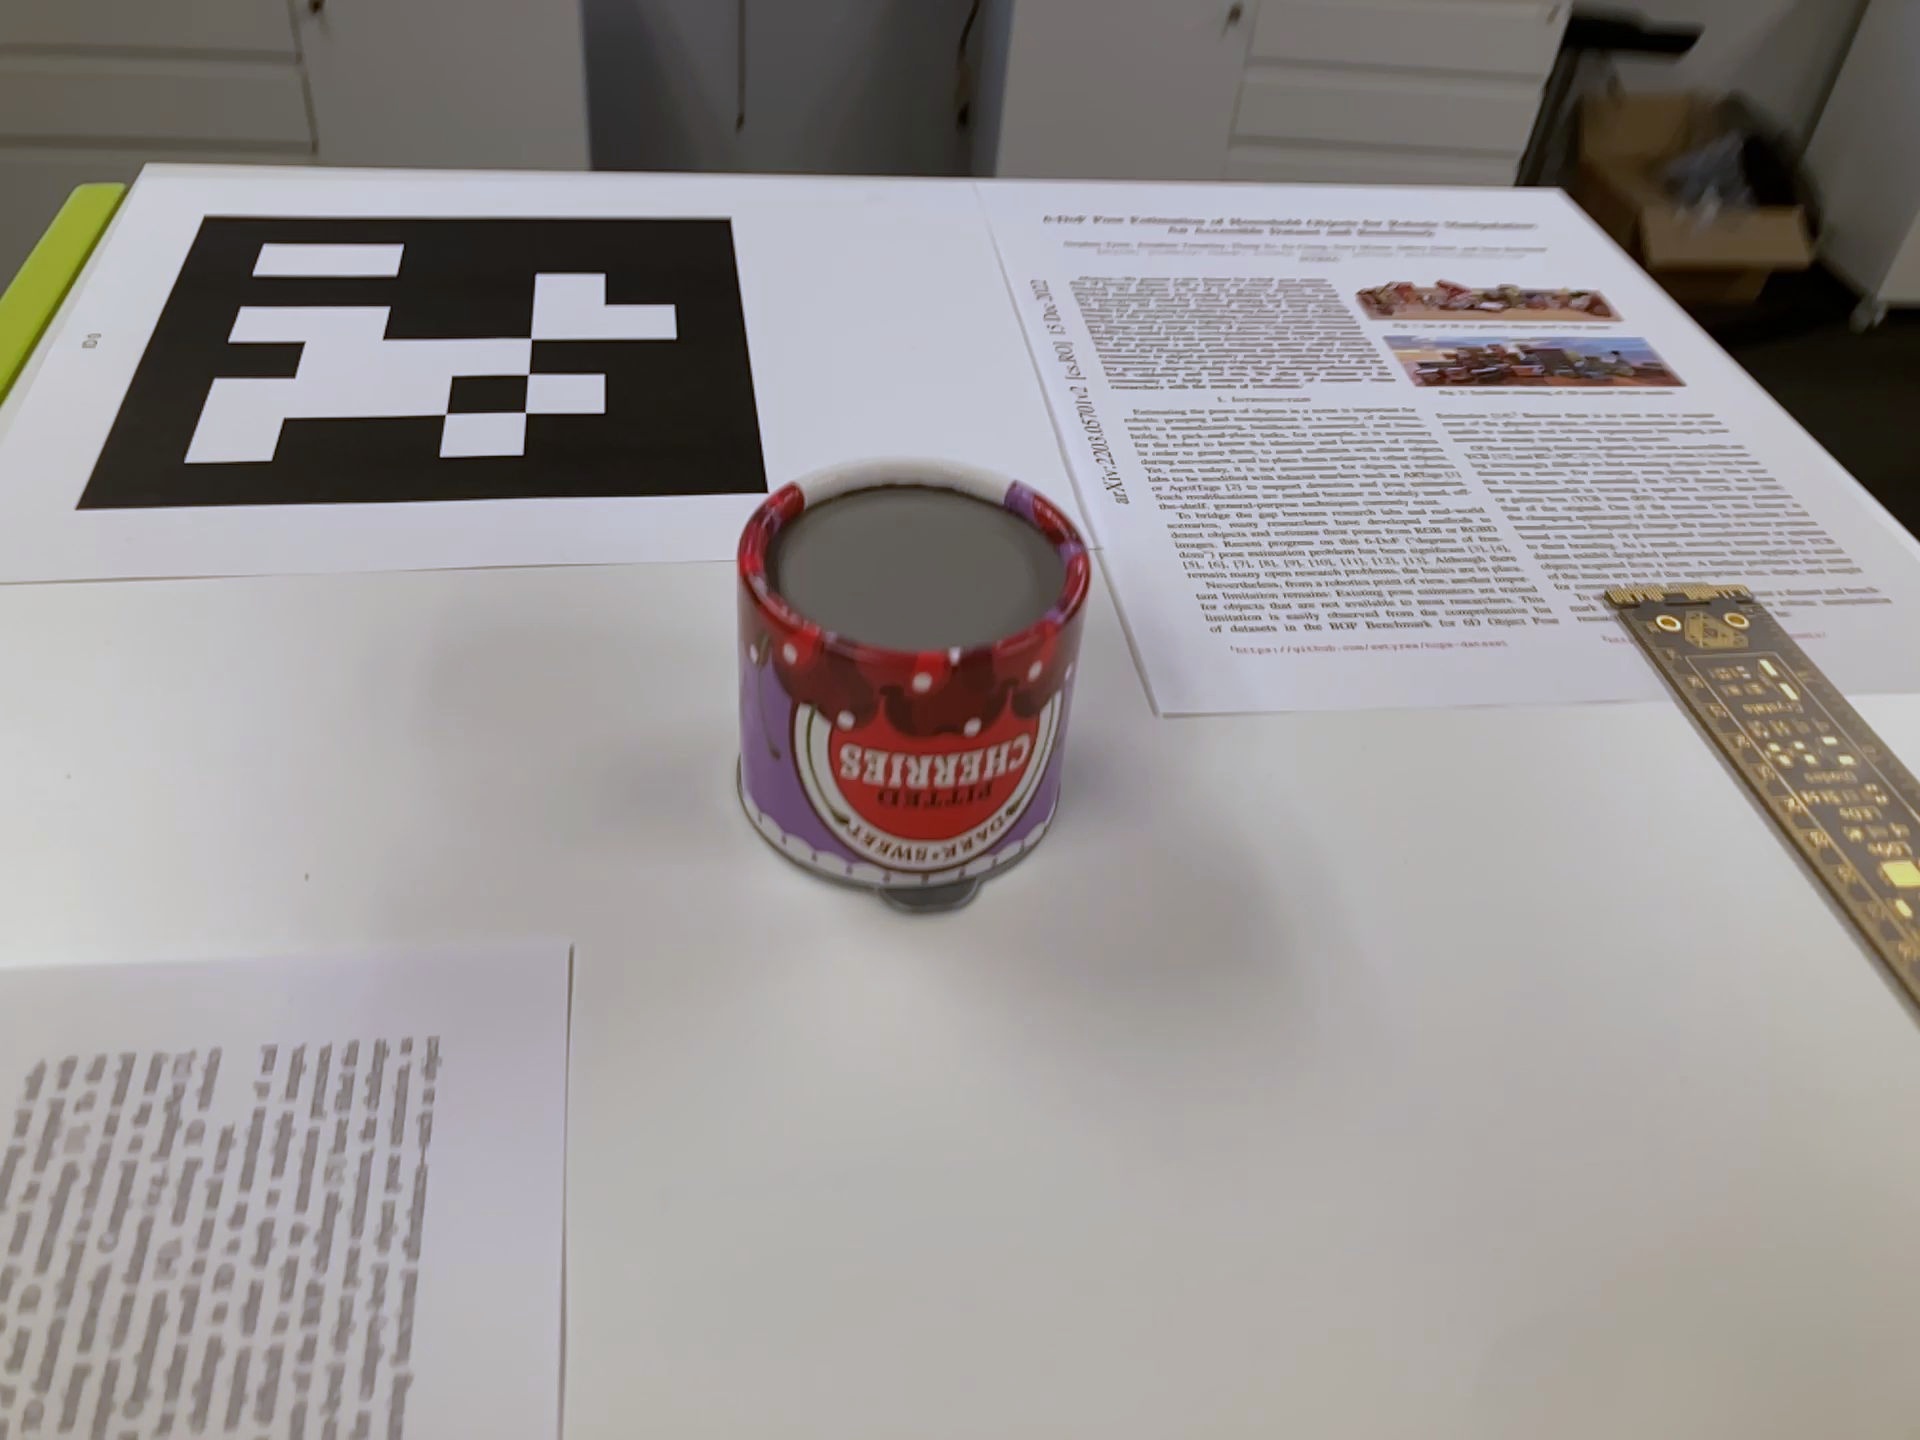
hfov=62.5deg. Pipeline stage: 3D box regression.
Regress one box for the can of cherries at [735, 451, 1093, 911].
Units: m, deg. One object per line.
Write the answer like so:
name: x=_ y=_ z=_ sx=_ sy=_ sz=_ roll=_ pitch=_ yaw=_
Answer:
can of cherries: x=-0.009 y=-0.009 z=0.303 sx=0.071 sy=0.058 sz=0.071 roll=4 pitch=41 yaw=-3
